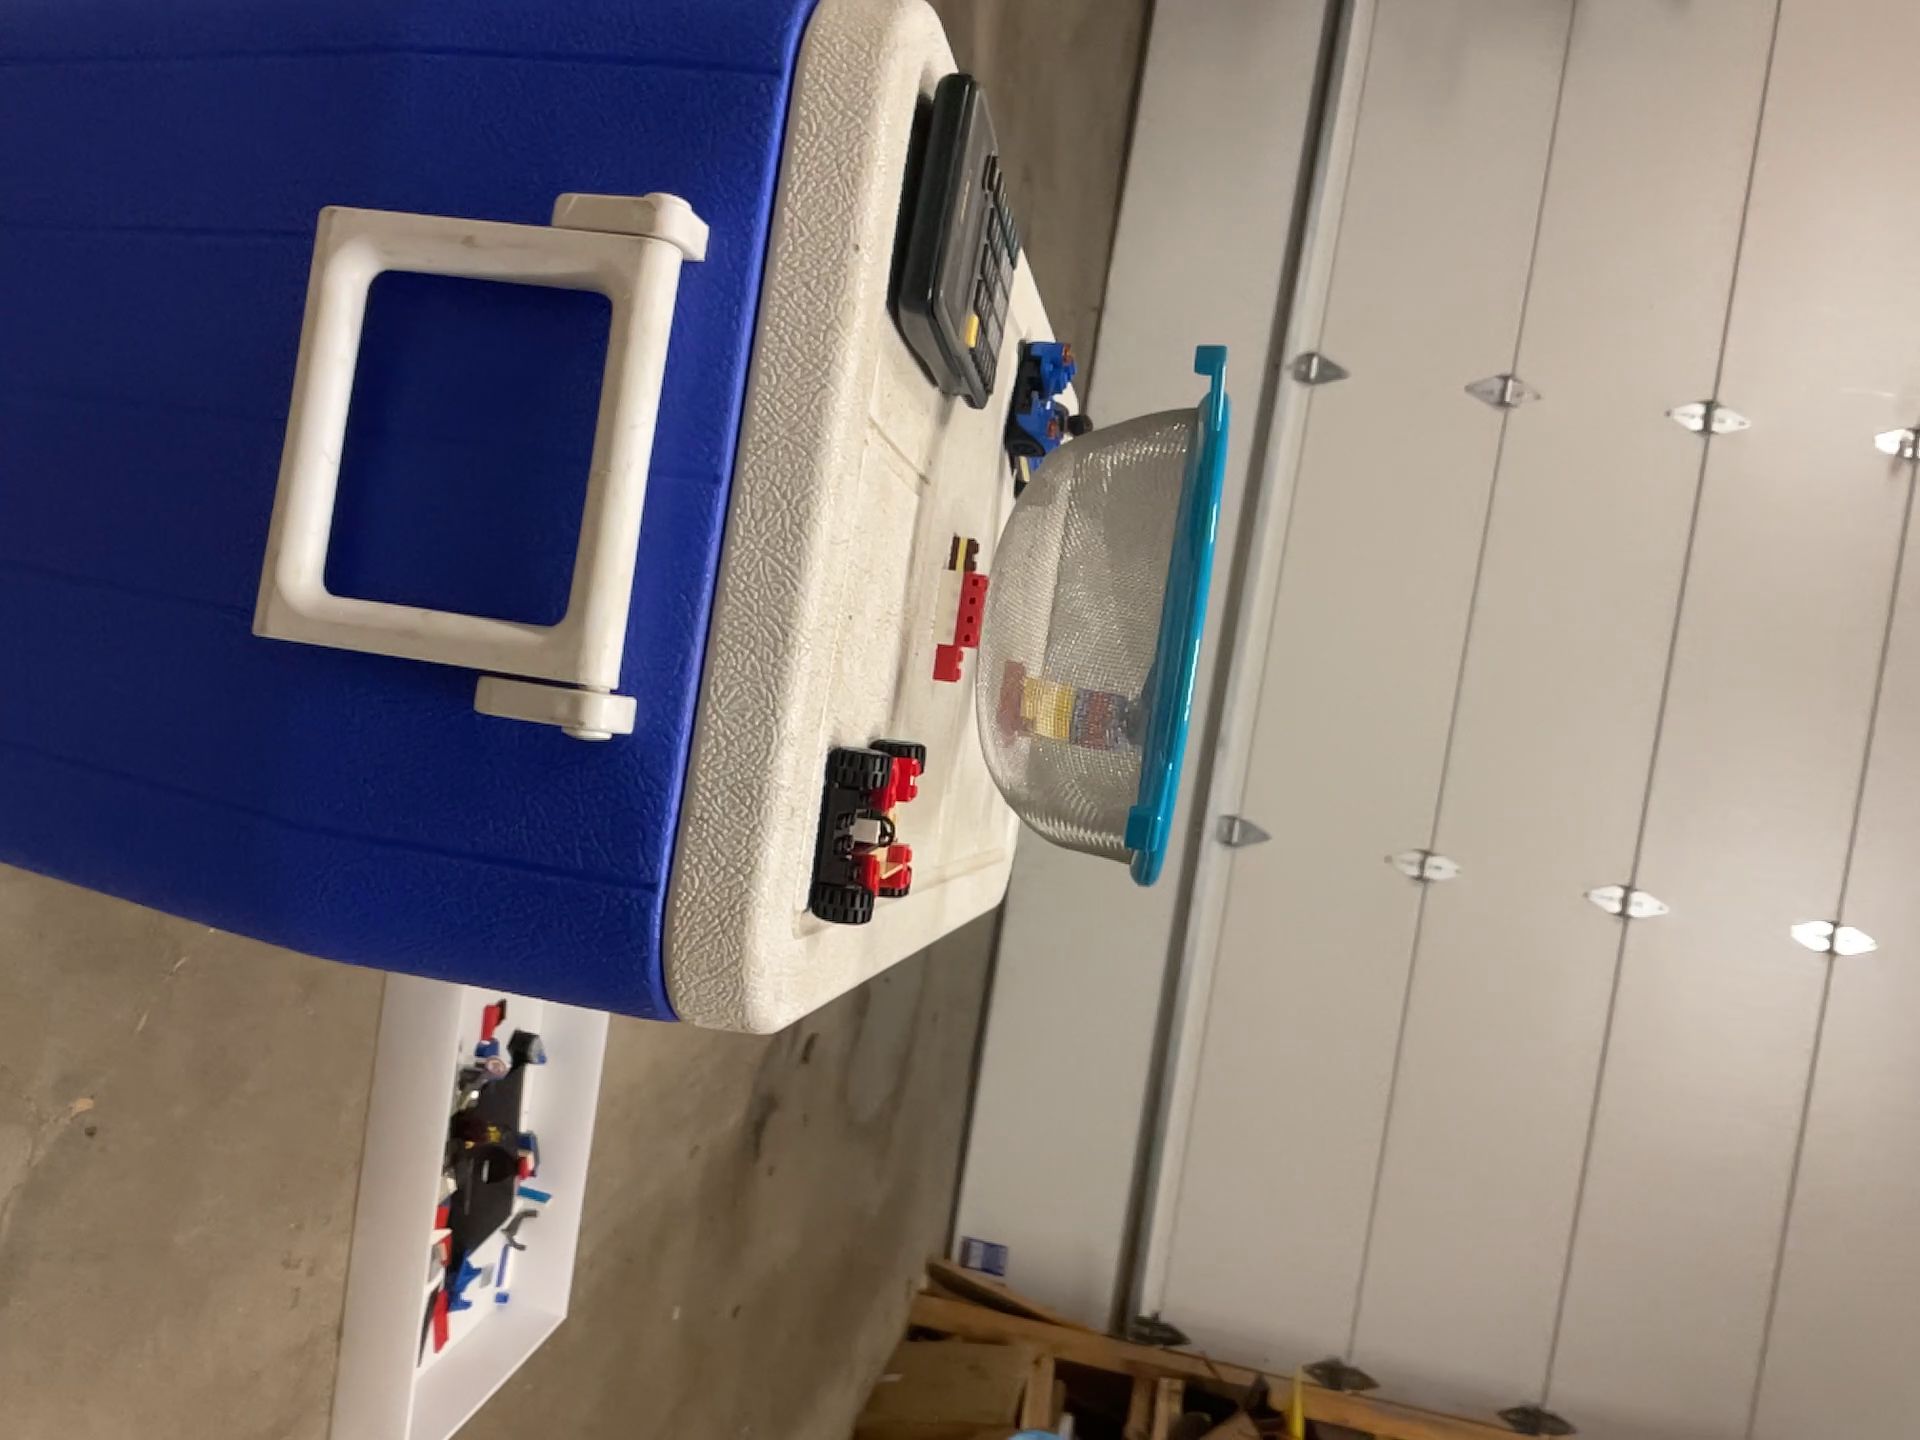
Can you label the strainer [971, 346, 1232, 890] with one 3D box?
[{"bbox_3d":[0.057,-0.029,0.741,0.340,0.095,0.211,73,26,-81],"label":"strainer"}]
